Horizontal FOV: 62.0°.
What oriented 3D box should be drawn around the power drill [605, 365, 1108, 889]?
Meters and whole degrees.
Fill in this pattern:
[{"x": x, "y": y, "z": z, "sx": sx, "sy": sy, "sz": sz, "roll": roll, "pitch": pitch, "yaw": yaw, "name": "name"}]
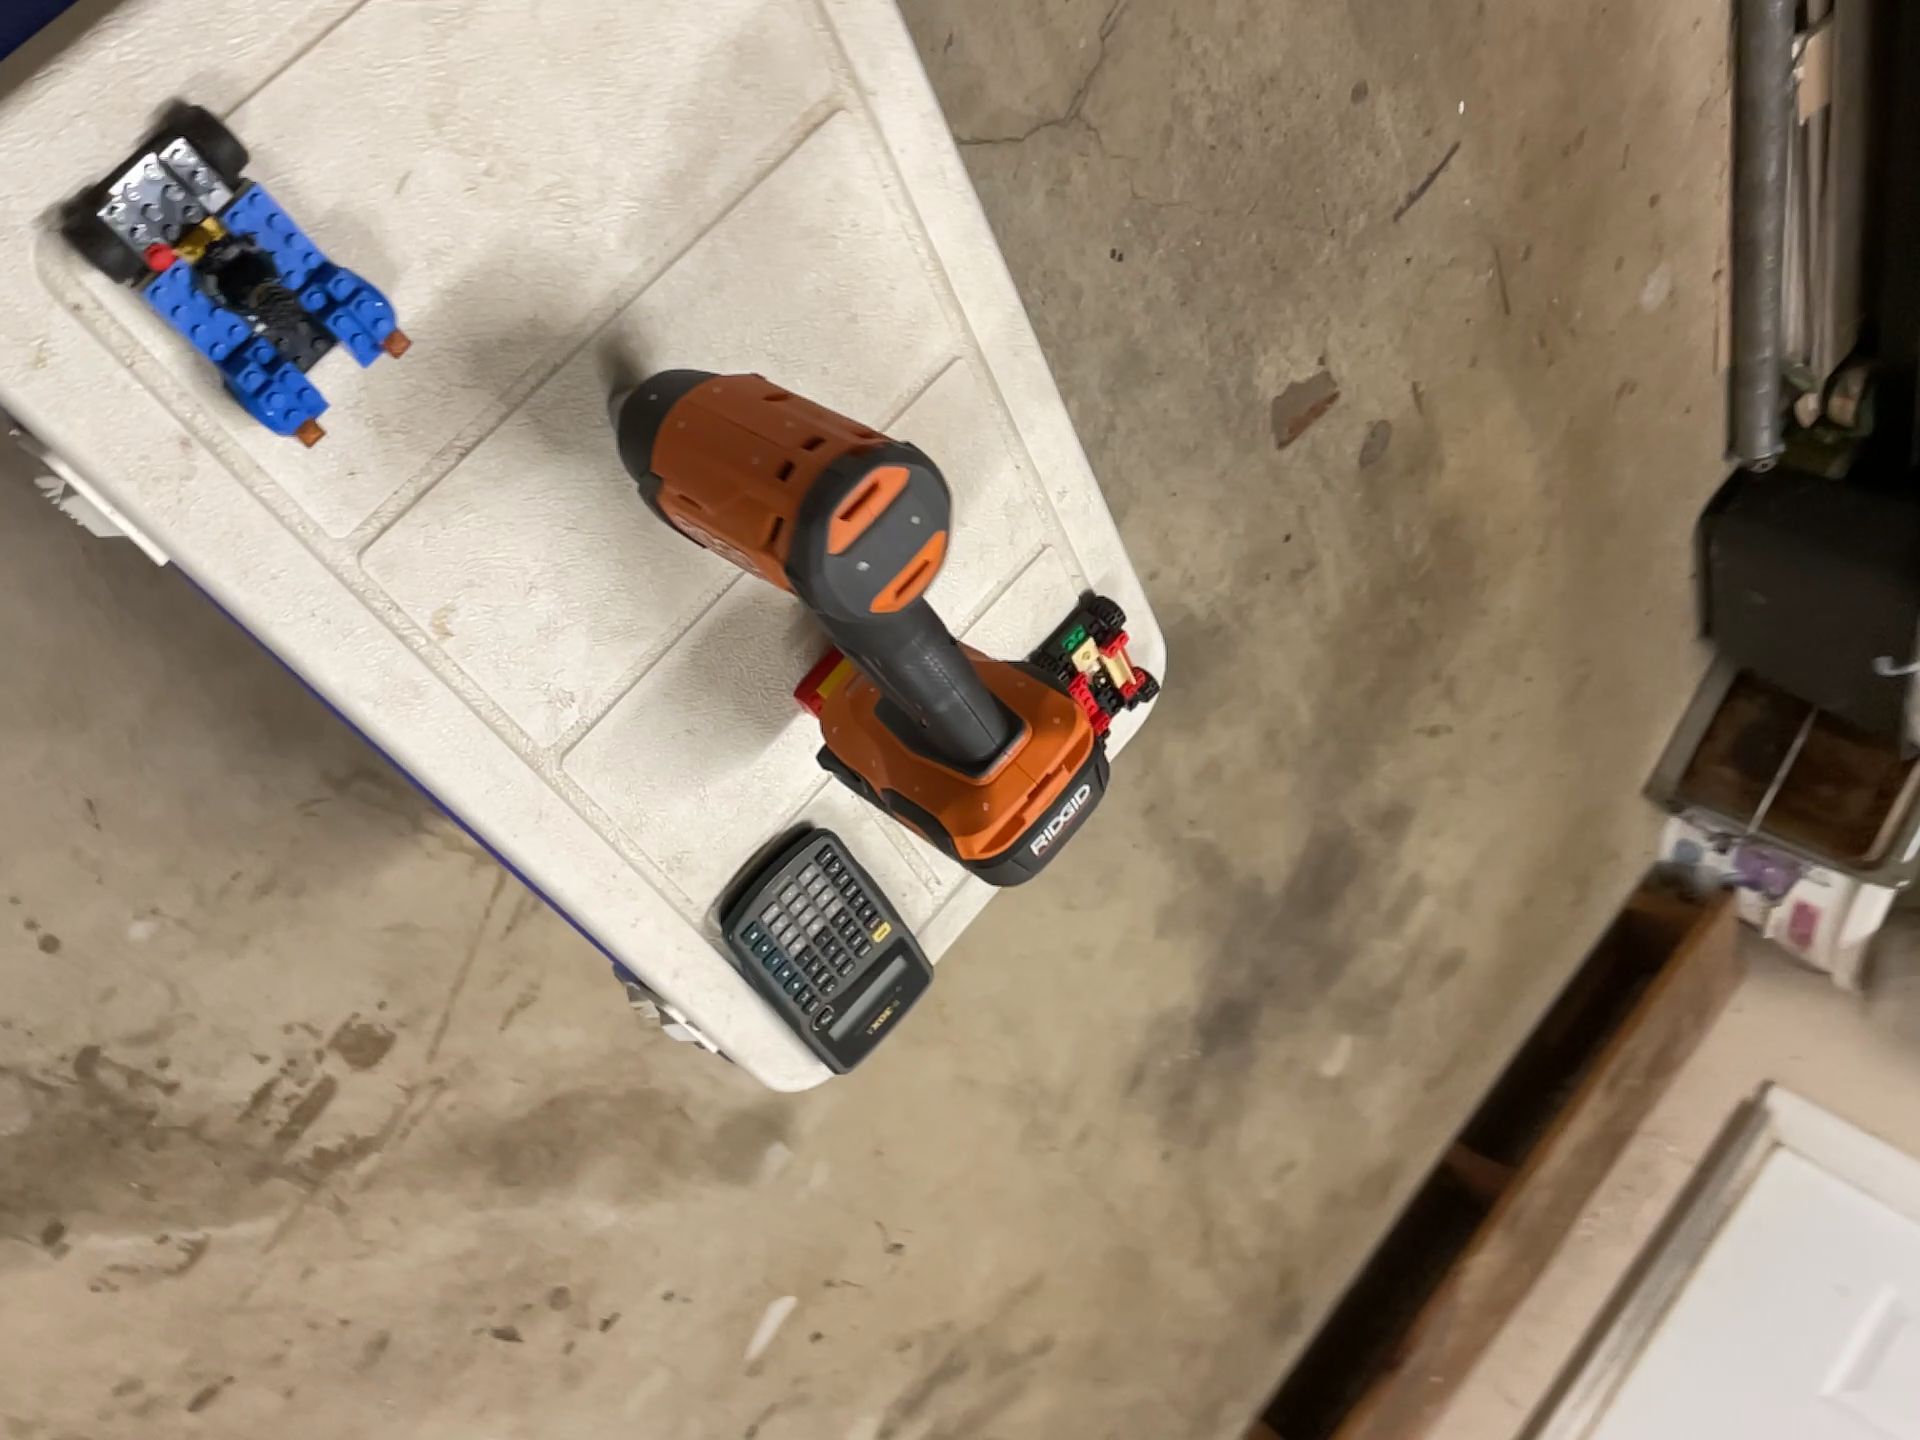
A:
[{"x": -0.044, "y": -0.042, "z": 0.616, "sx": 0.084, "sy": 0.164, "sz": 0.226, "roll": -48, "pitch": 139, "yaw": -12, "name": "power drill"}]
